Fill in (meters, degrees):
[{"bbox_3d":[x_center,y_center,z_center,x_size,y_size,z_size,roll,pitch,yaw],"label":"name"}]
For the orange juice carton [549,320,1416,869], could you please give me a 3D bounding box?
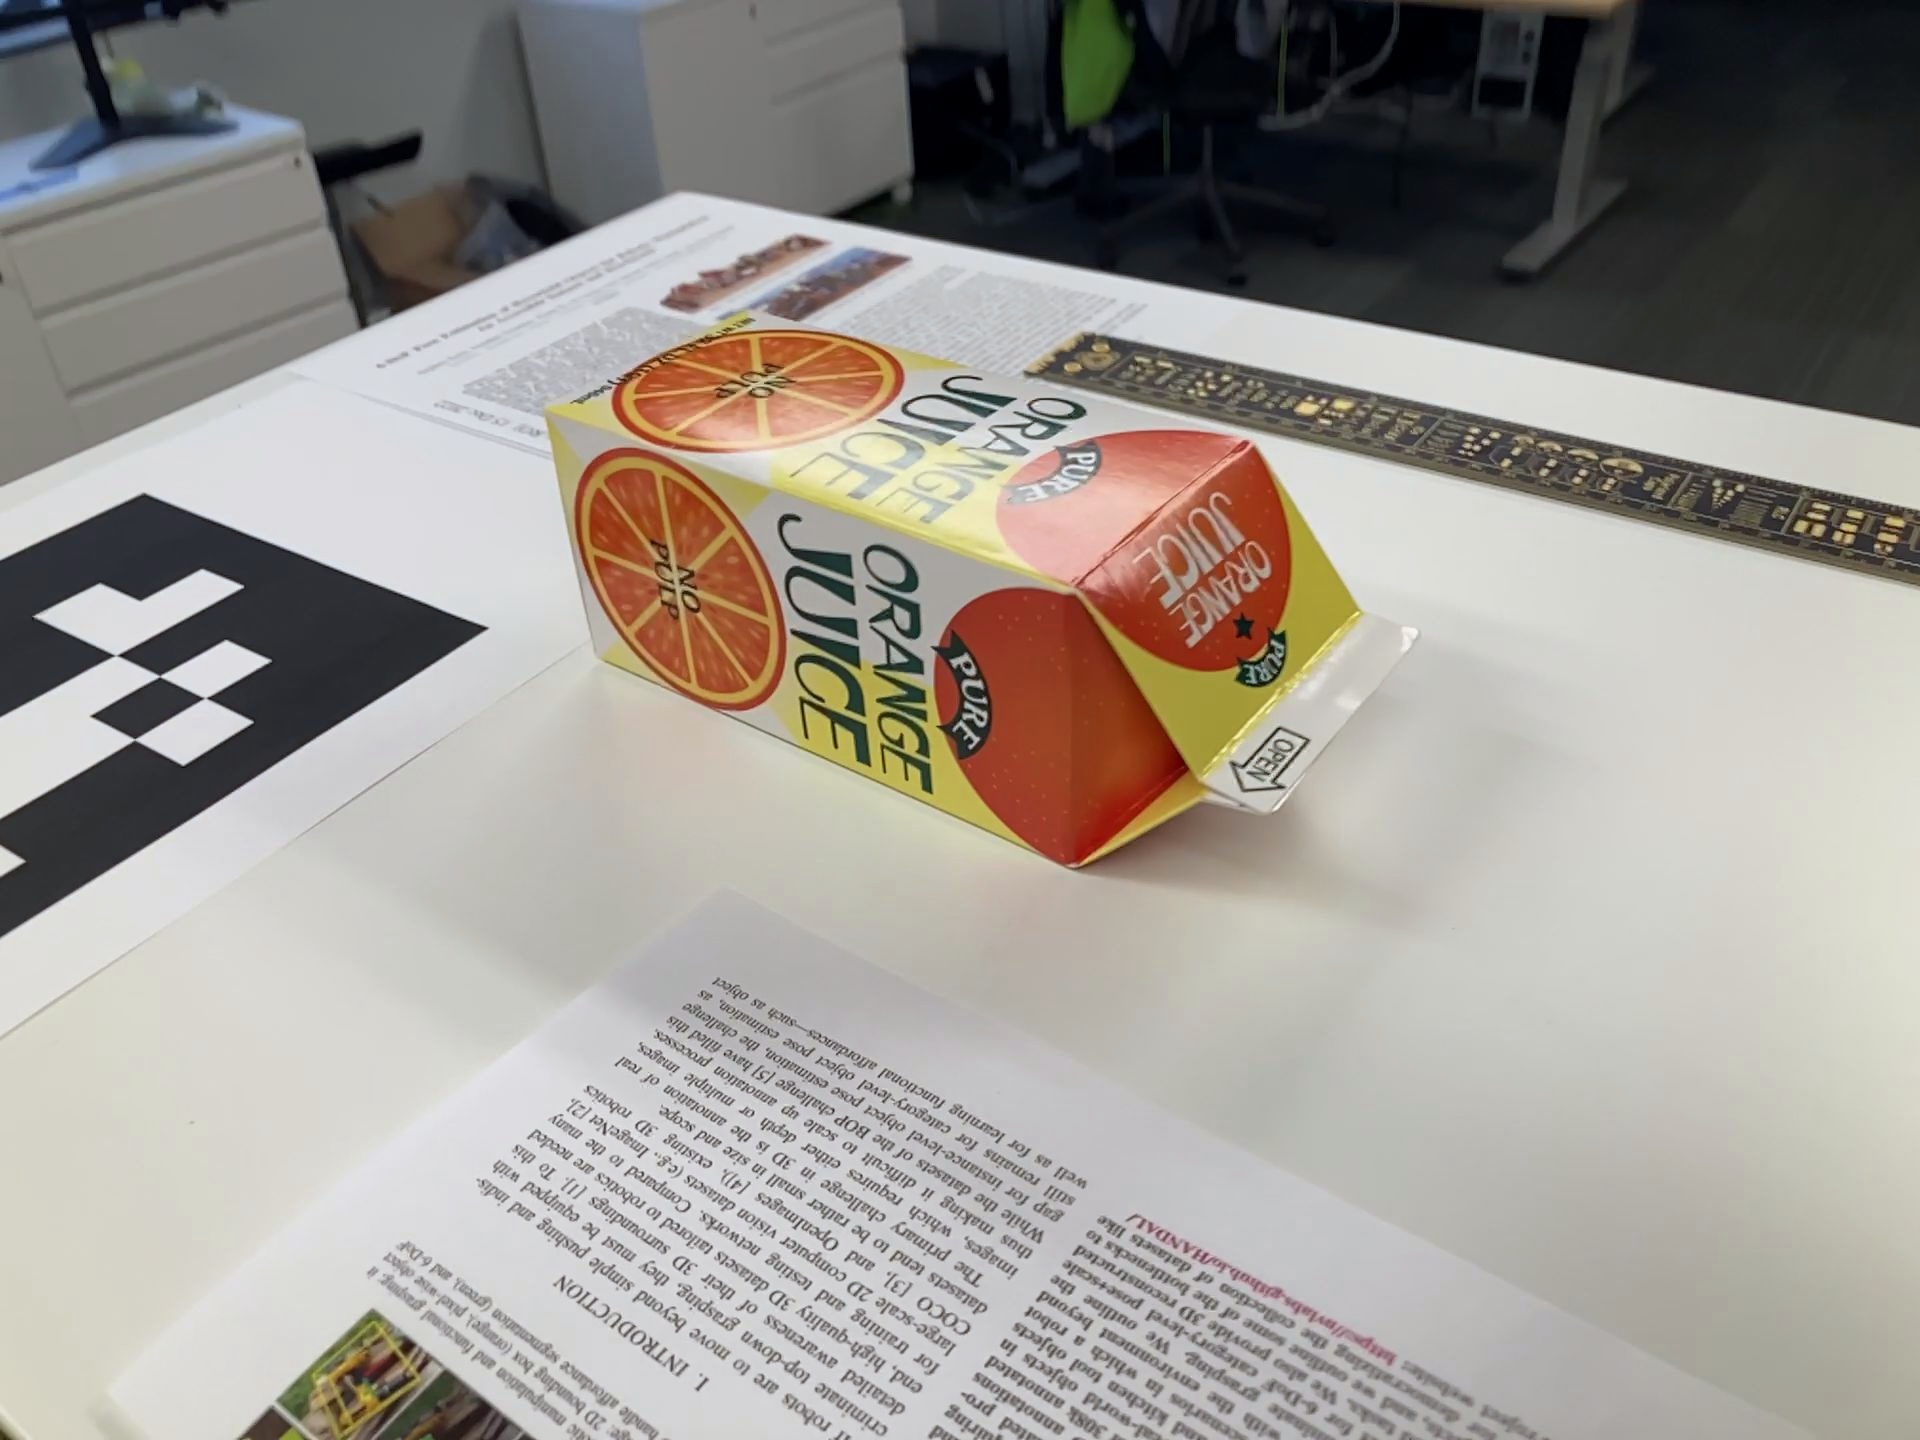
[{"bbox_3d":[0.001,-0.031,0.366,0.192,0.073,0.072,21,42,31],"label":"orange juice carton"}]
